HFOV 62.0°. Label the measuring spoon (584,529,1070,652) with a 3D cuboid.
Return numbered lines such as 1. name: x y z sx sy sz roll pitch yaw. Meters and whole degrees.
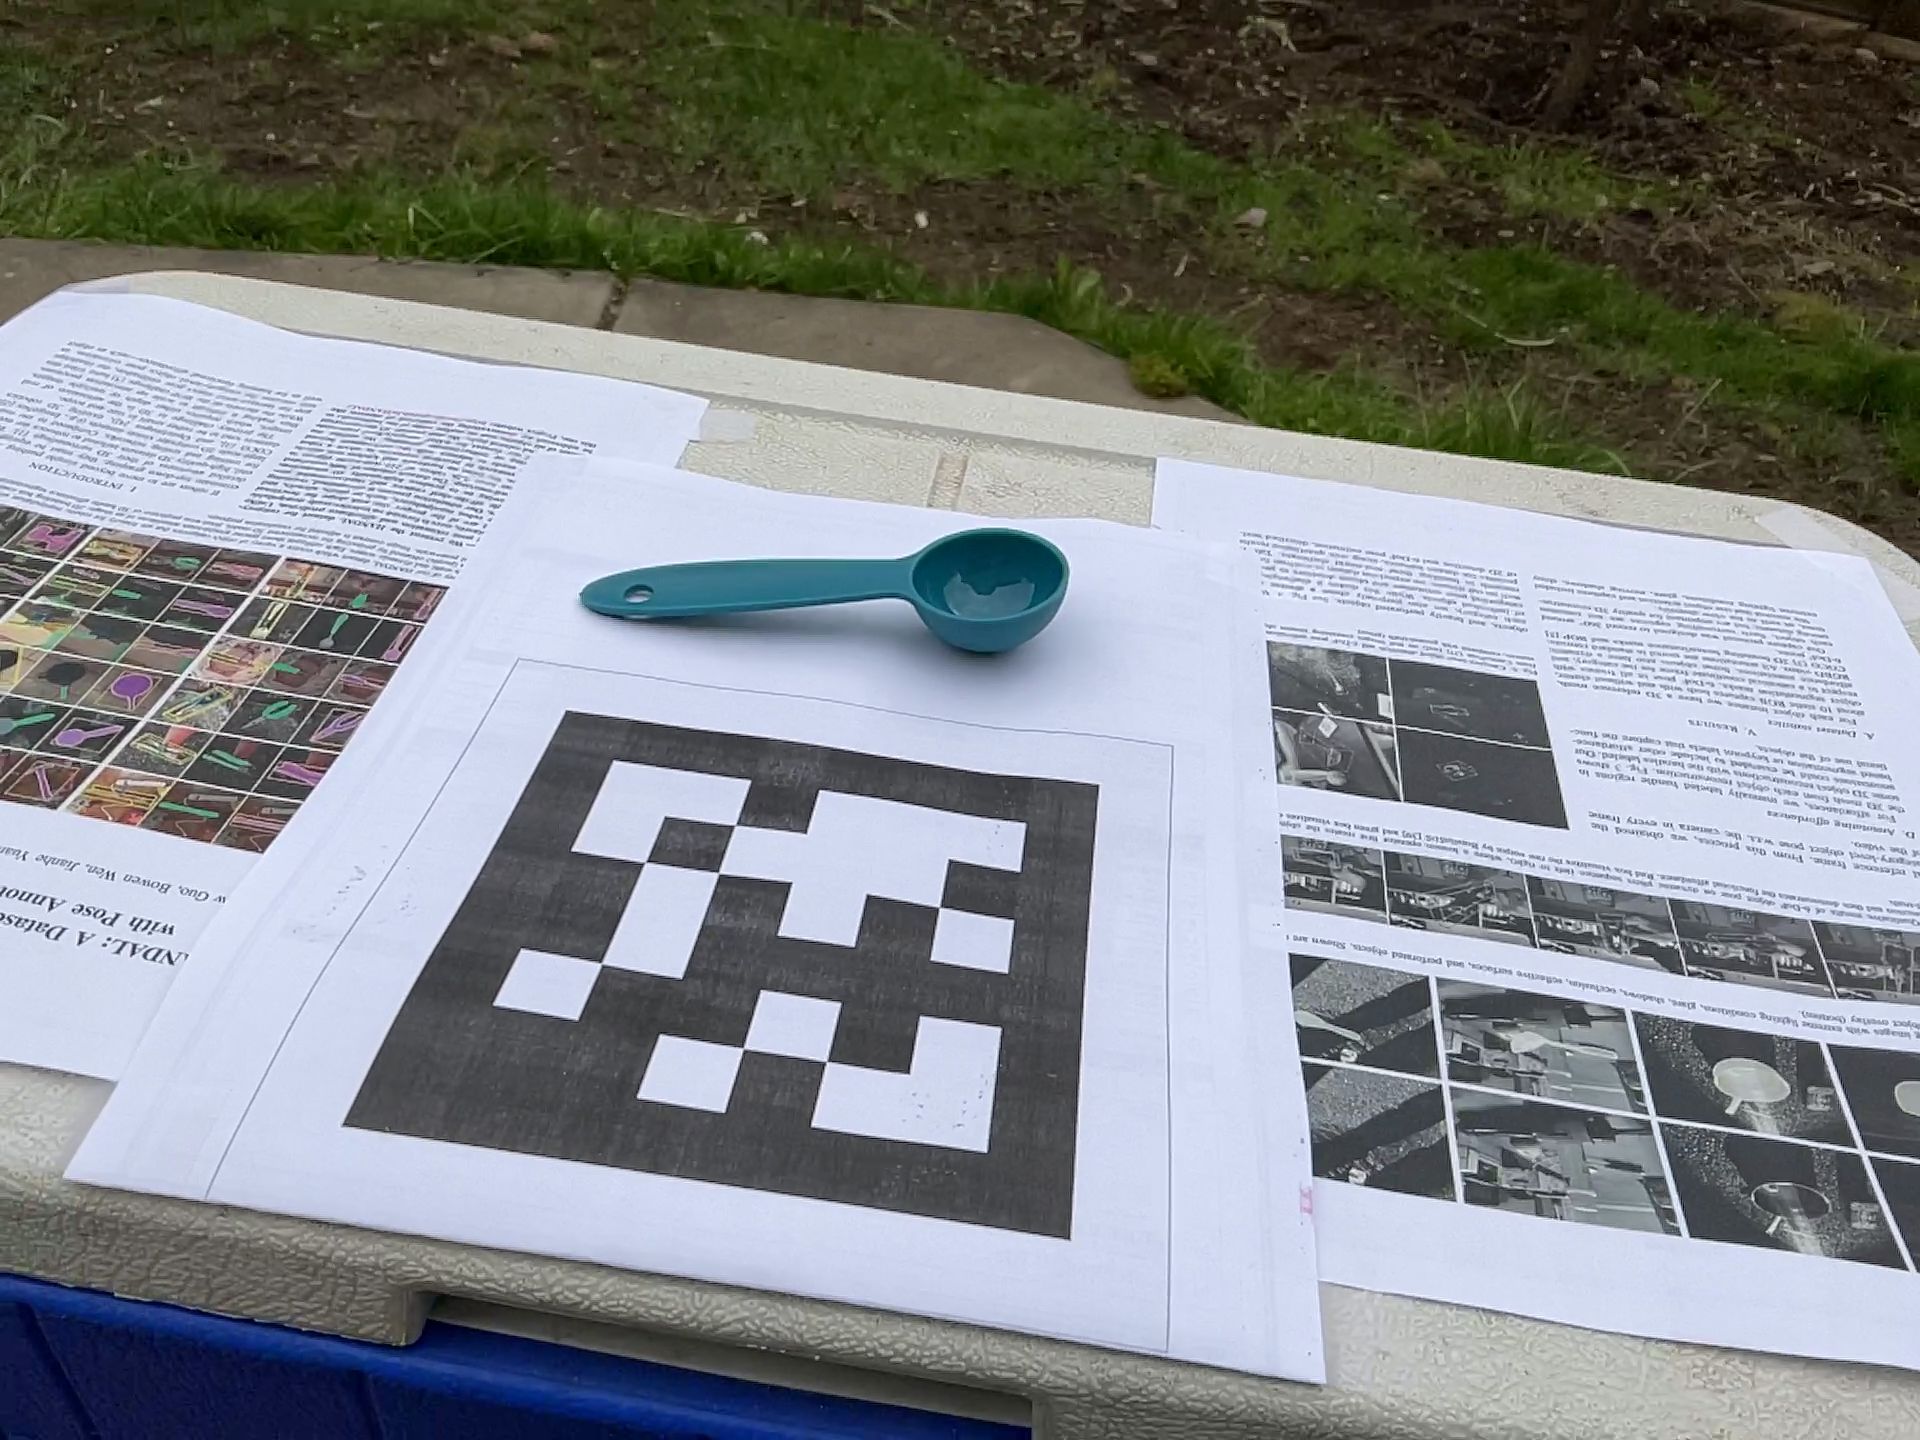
1. measuring spoon: -0.035 -0.030 0.423 0.128 0.021 0.042 -2 39 5
